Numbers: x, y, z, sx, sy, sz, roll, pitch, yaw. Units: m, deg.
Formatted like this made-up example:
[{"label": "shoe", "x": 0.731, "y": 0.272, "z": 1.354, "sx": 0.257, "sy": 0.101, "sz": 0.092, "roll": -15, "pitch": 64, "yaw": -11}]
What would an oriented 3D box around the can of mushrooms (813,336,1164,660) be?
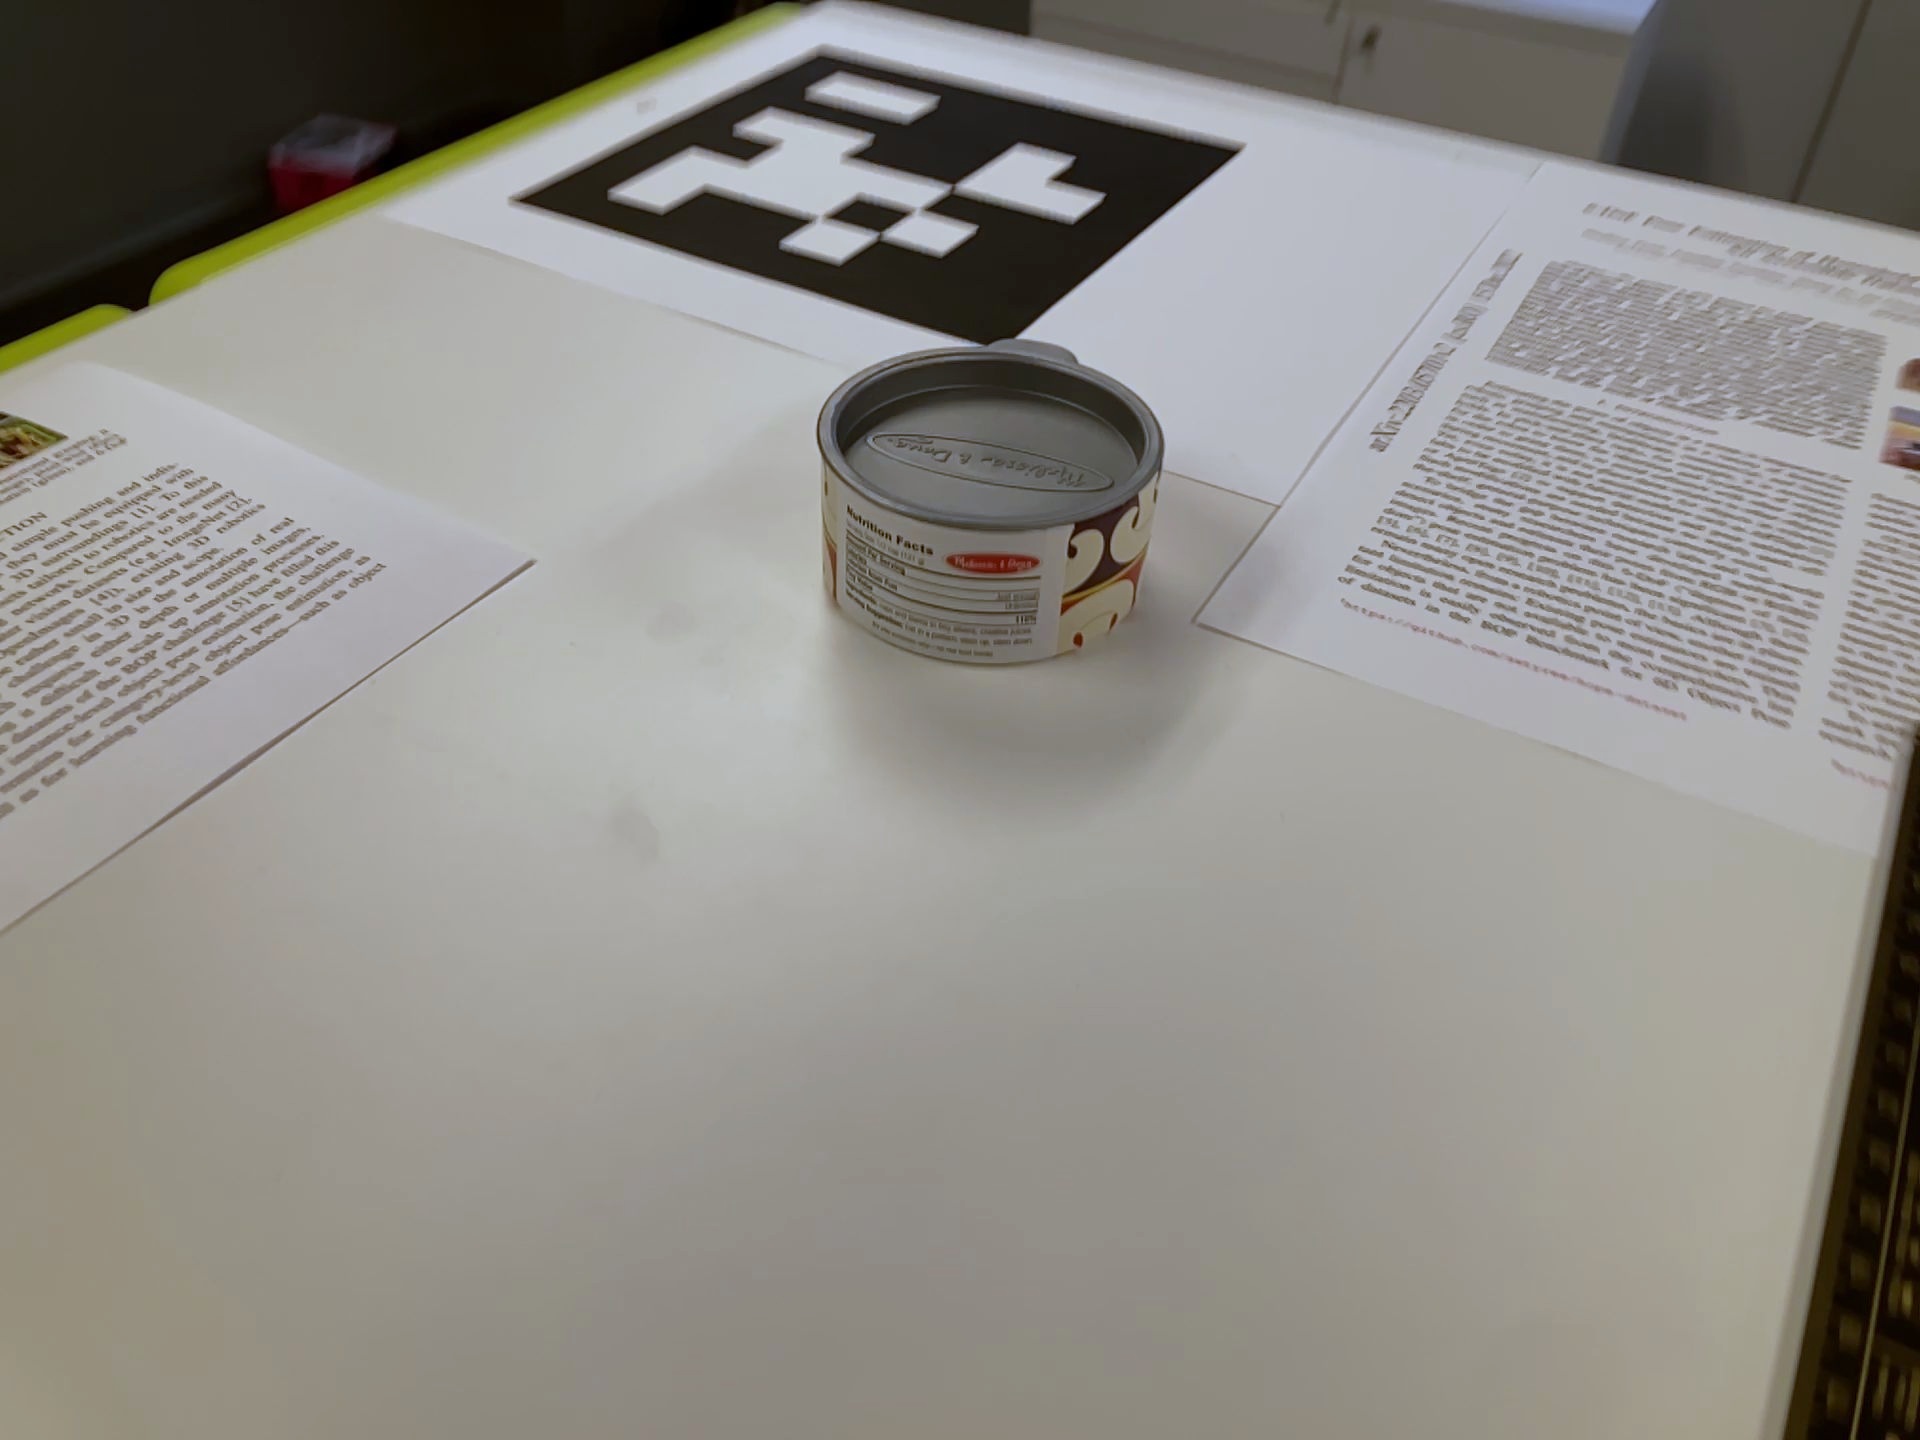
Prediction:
[{"label": "can of mushrooms", "x": 0.006, "y": -0.045, "z": 0.311, "sx": 0.071, "sy": 0.033, "sz": 0.071, "roll": 1, "pitch": 40, "yaw": -1}]
